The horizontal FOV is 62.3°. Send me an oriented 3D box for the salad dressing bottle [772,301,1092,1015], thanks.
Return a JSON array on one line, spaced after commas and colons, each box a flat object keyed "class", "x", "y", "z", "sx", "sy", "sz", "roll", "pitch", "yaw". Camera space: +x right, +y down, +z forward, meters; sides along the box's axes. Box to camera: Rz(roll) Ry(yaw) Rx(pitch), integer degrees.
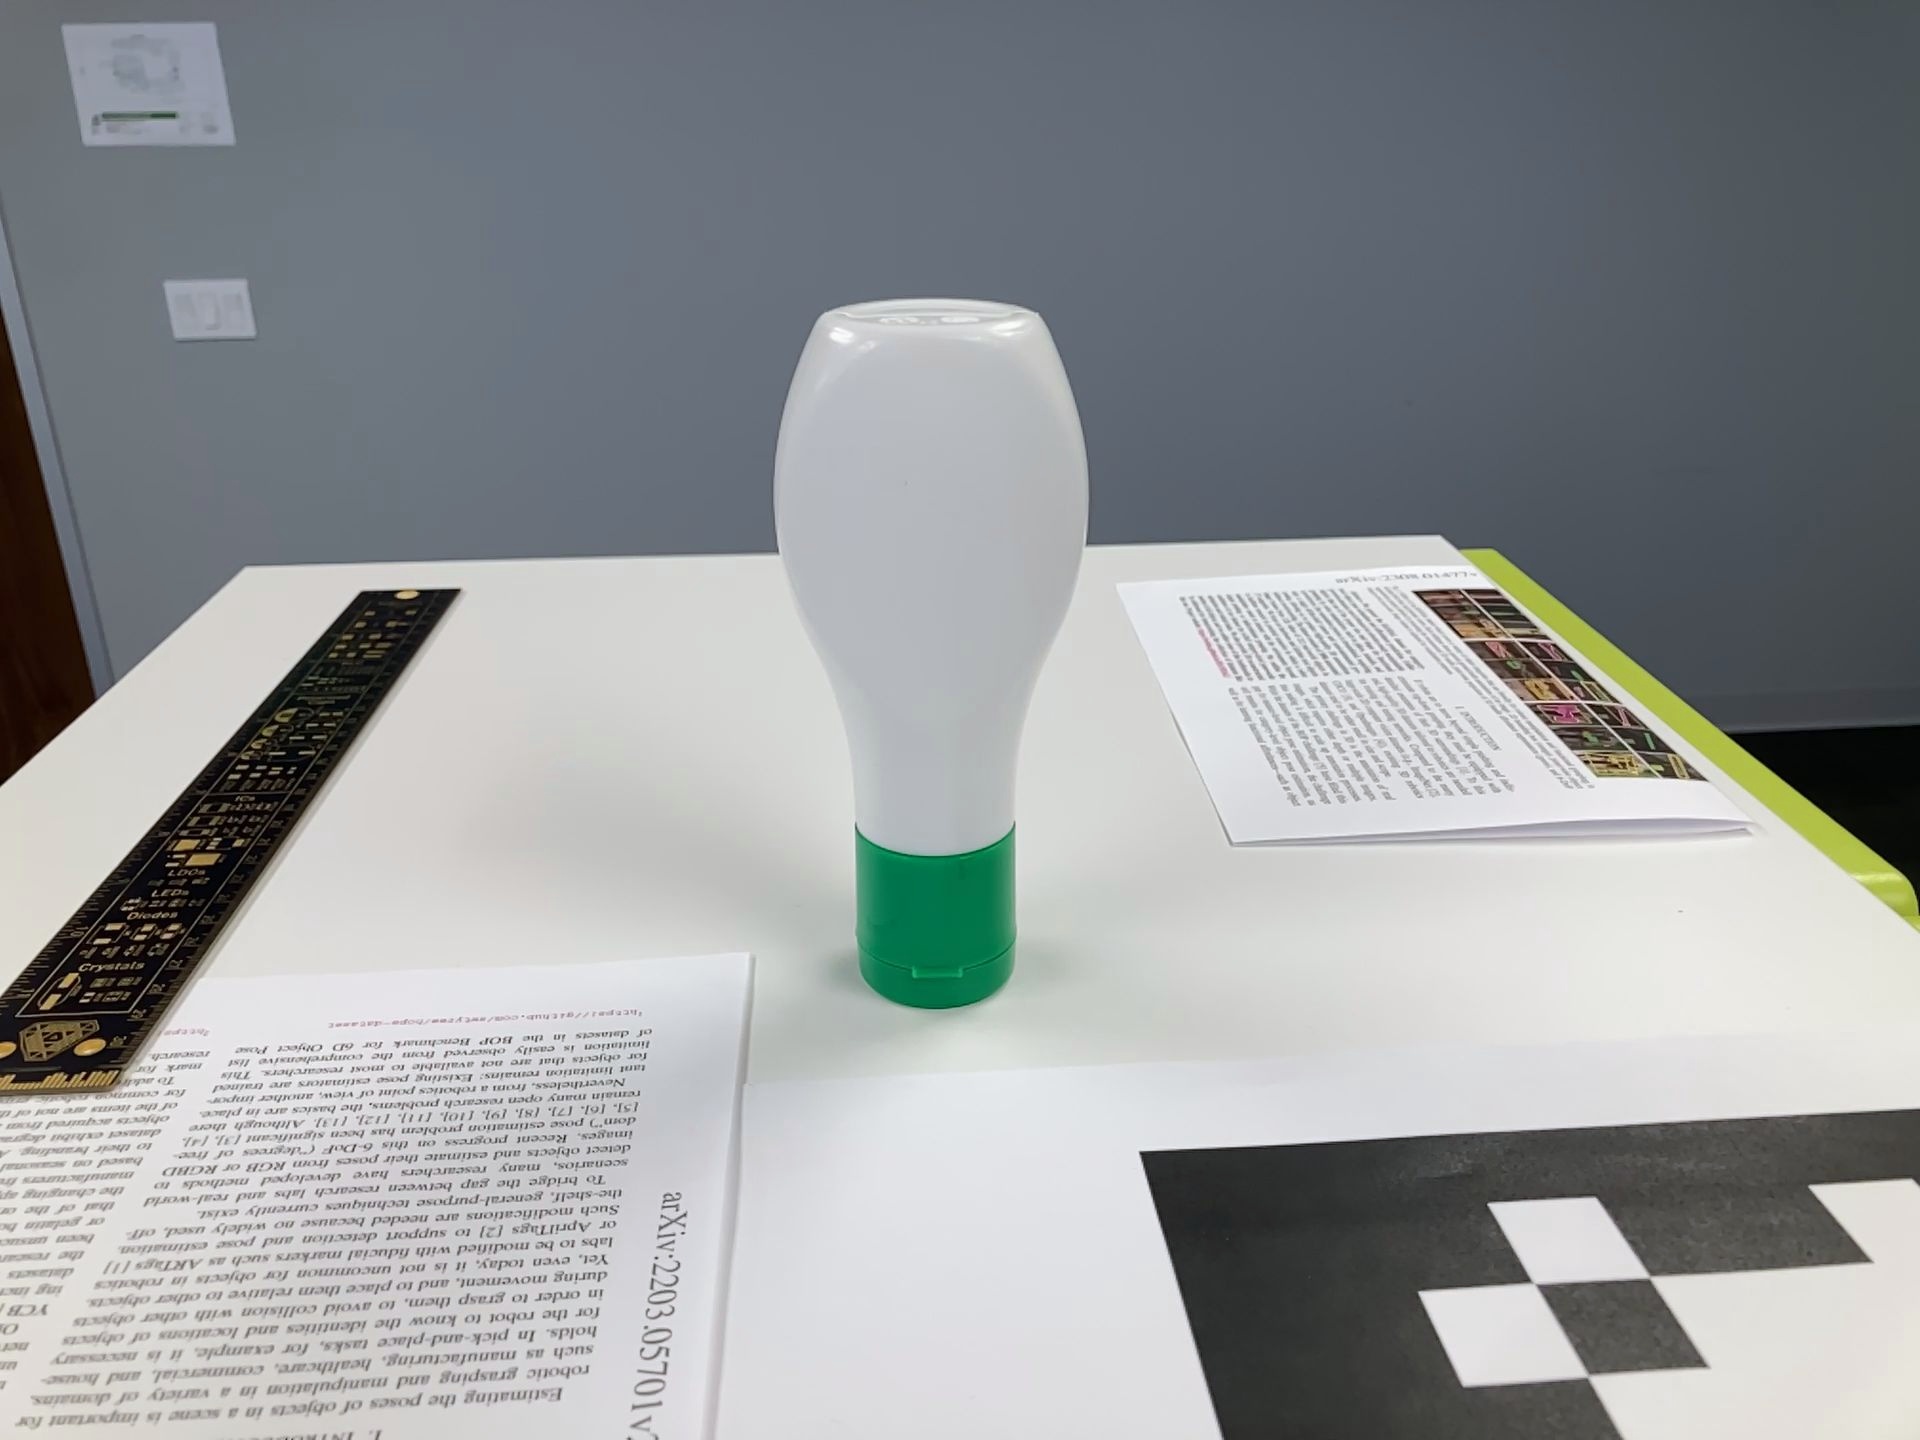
[{"class": "salad dressing bottle", "x": -0.005, "y": -0.010, "z": 0.334, "sx": 0.064, "sy": 0.147, "sz": 0.044, "roll": -1, "pitch": 22, "yaw": -2}]
